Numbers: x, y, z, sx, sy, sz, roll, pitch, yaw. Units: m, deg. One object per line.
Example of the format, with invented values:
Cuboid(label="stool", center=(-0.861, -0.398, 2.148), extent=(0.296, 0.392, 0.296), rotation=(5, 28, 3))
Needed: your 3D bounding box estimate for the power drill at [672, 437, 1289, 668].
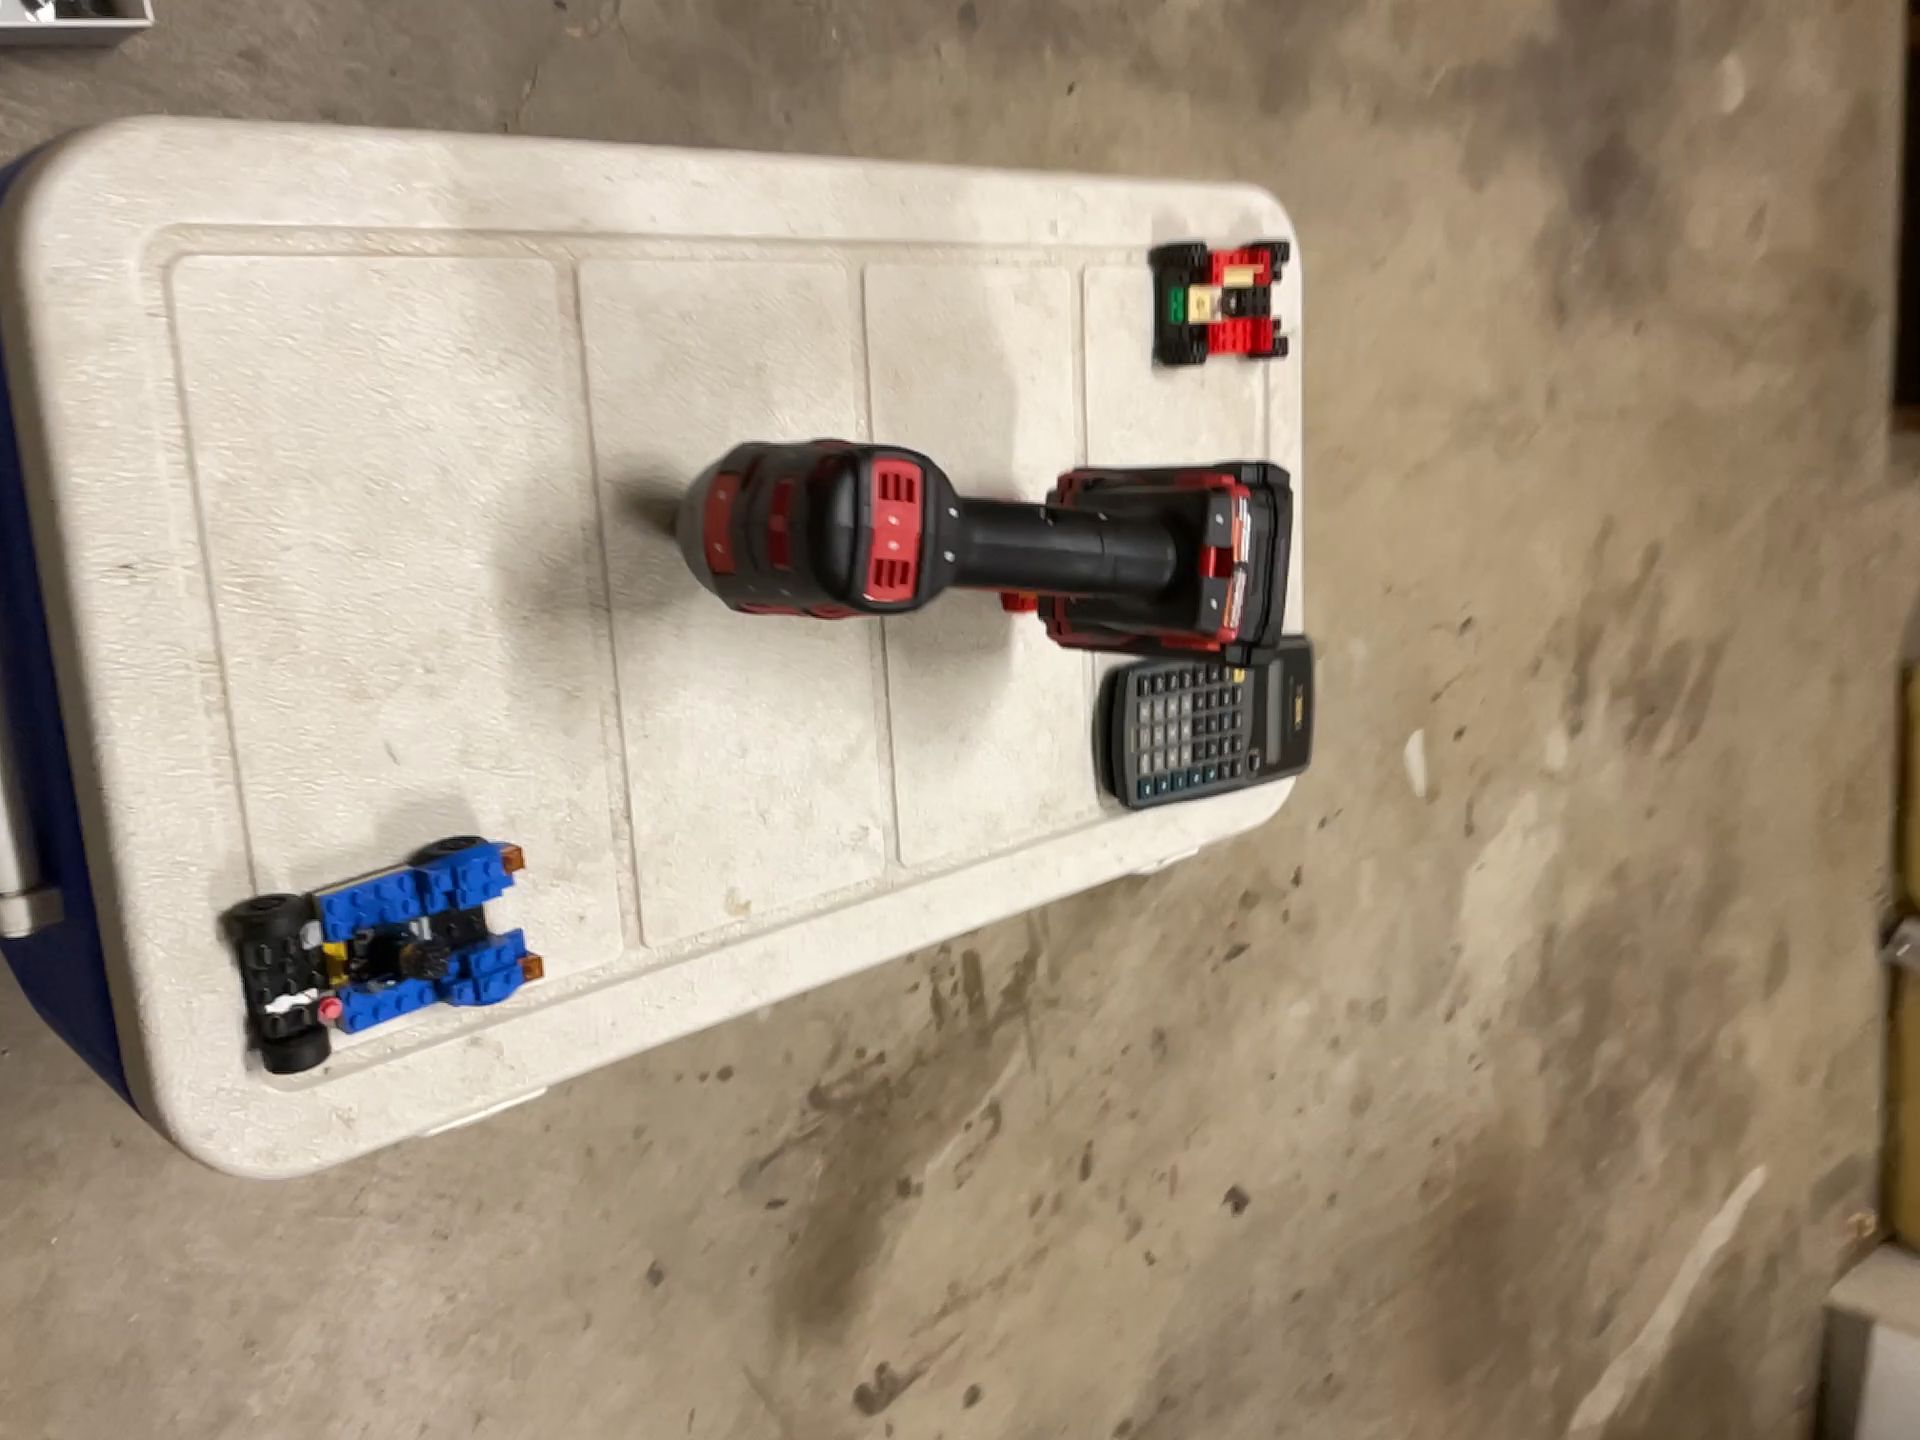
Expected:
Cuboid(label="power drill", center=(0.004, -0.065, 0.595), extent=(0.219, 0.143, 0.078), rotation=(1, 95, -36))
